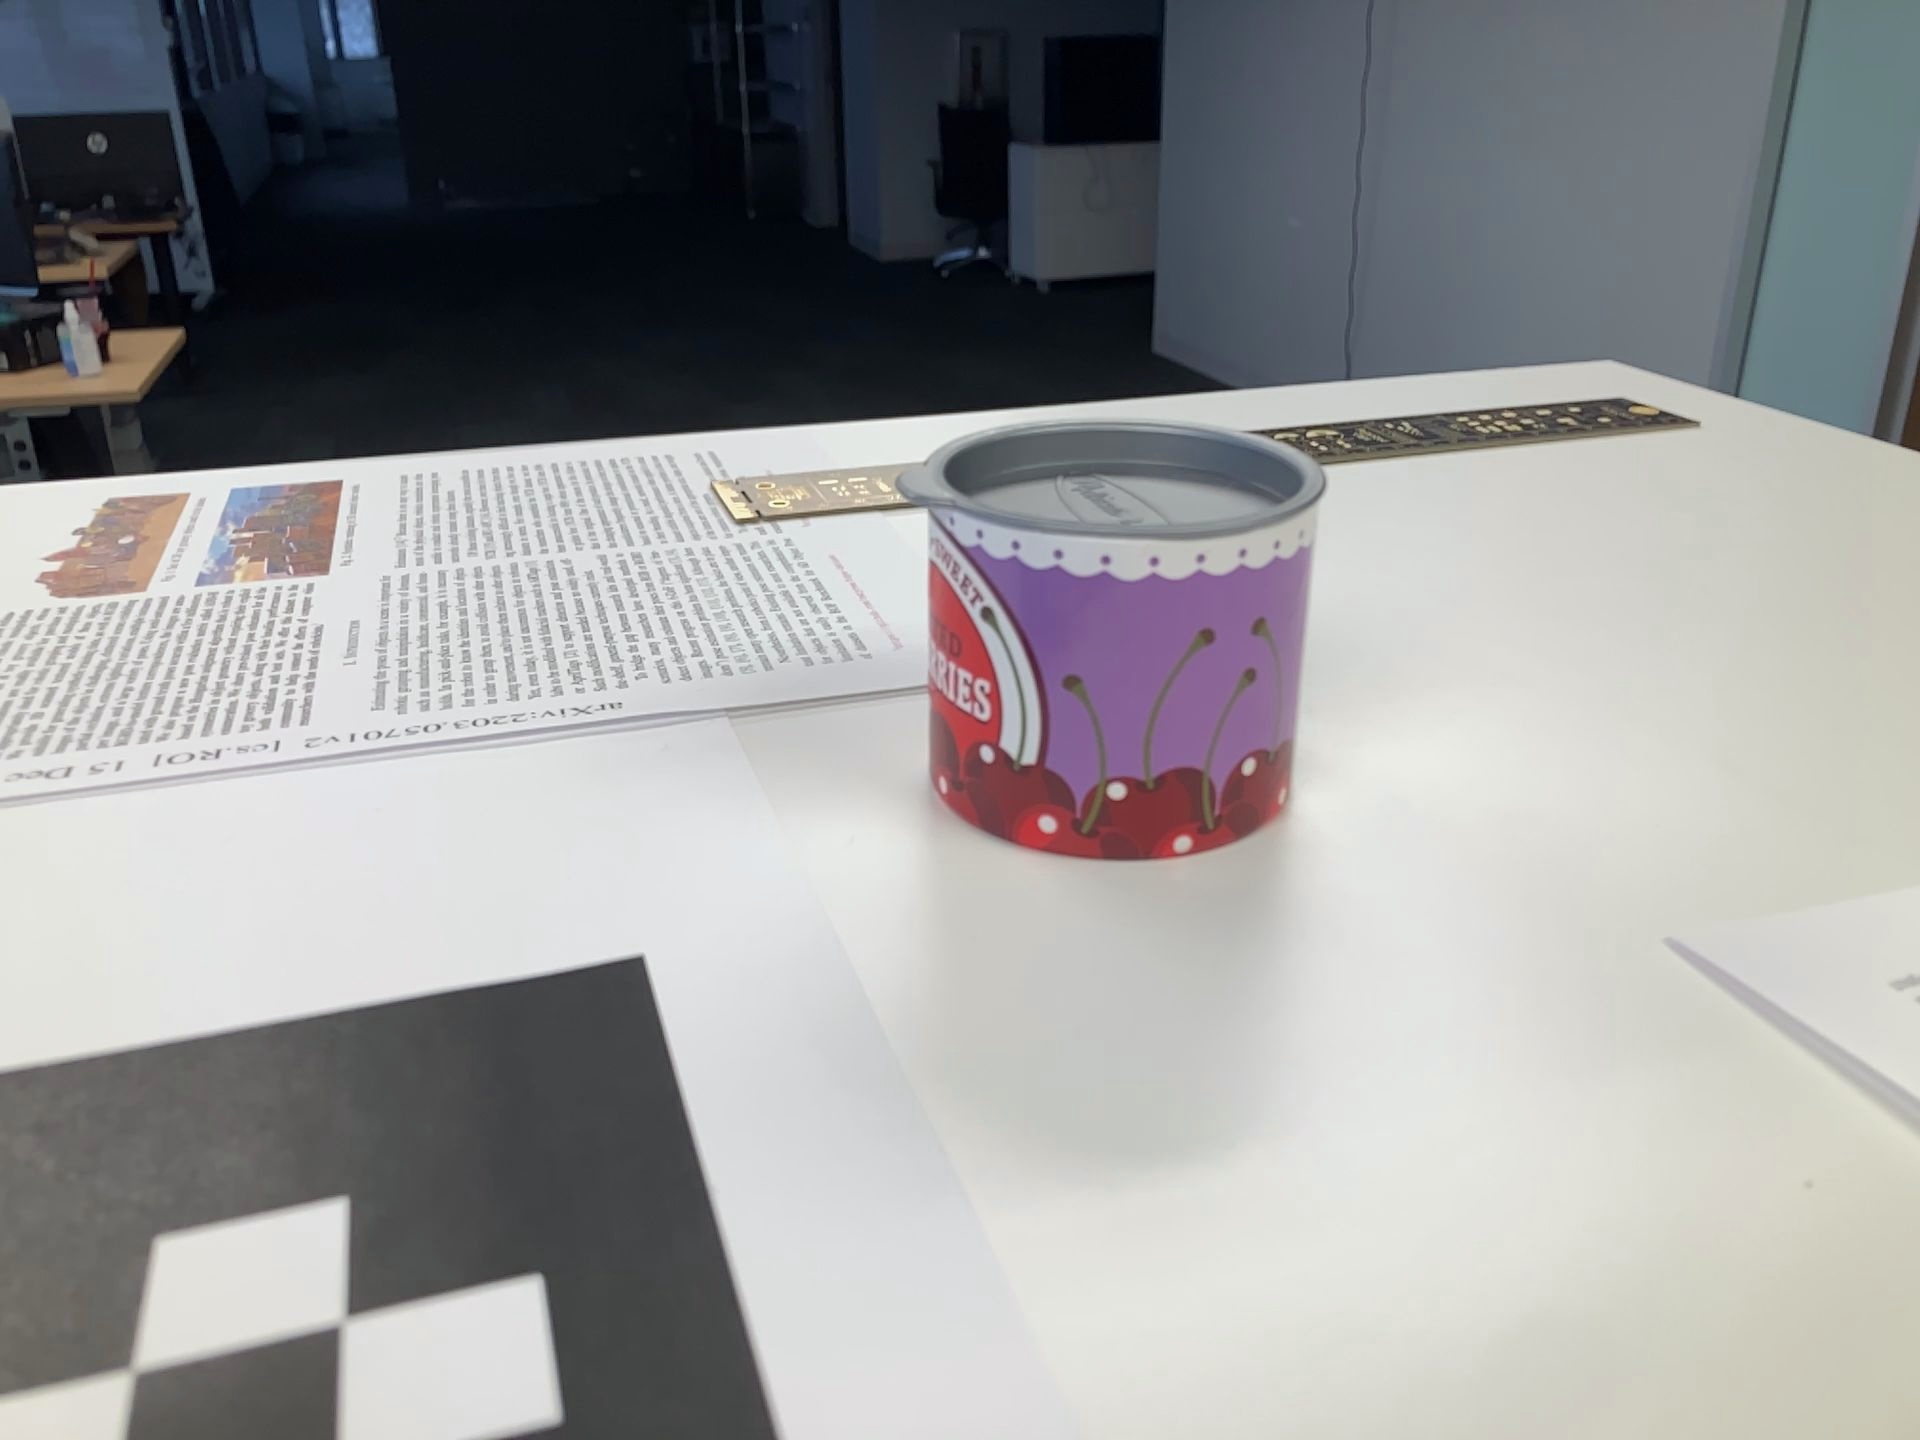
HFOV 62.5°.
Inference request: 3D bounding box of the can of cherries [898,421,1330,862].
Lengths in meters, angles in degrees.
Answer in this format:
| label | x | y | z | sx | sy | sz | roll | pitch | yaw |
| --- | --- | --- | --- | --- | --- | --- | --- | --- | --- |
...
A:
| label | x | y | z | sx | sy | sz | roll | pitch | yaw |
| --- | --- | --- | --- | --- | --- | --- | --- | --- | --- |
| can of cherries | 0.025 | -0.015 | 0.272 | 0.071 | 0.058 | 0.071 | 0 | 25 | 0 |
